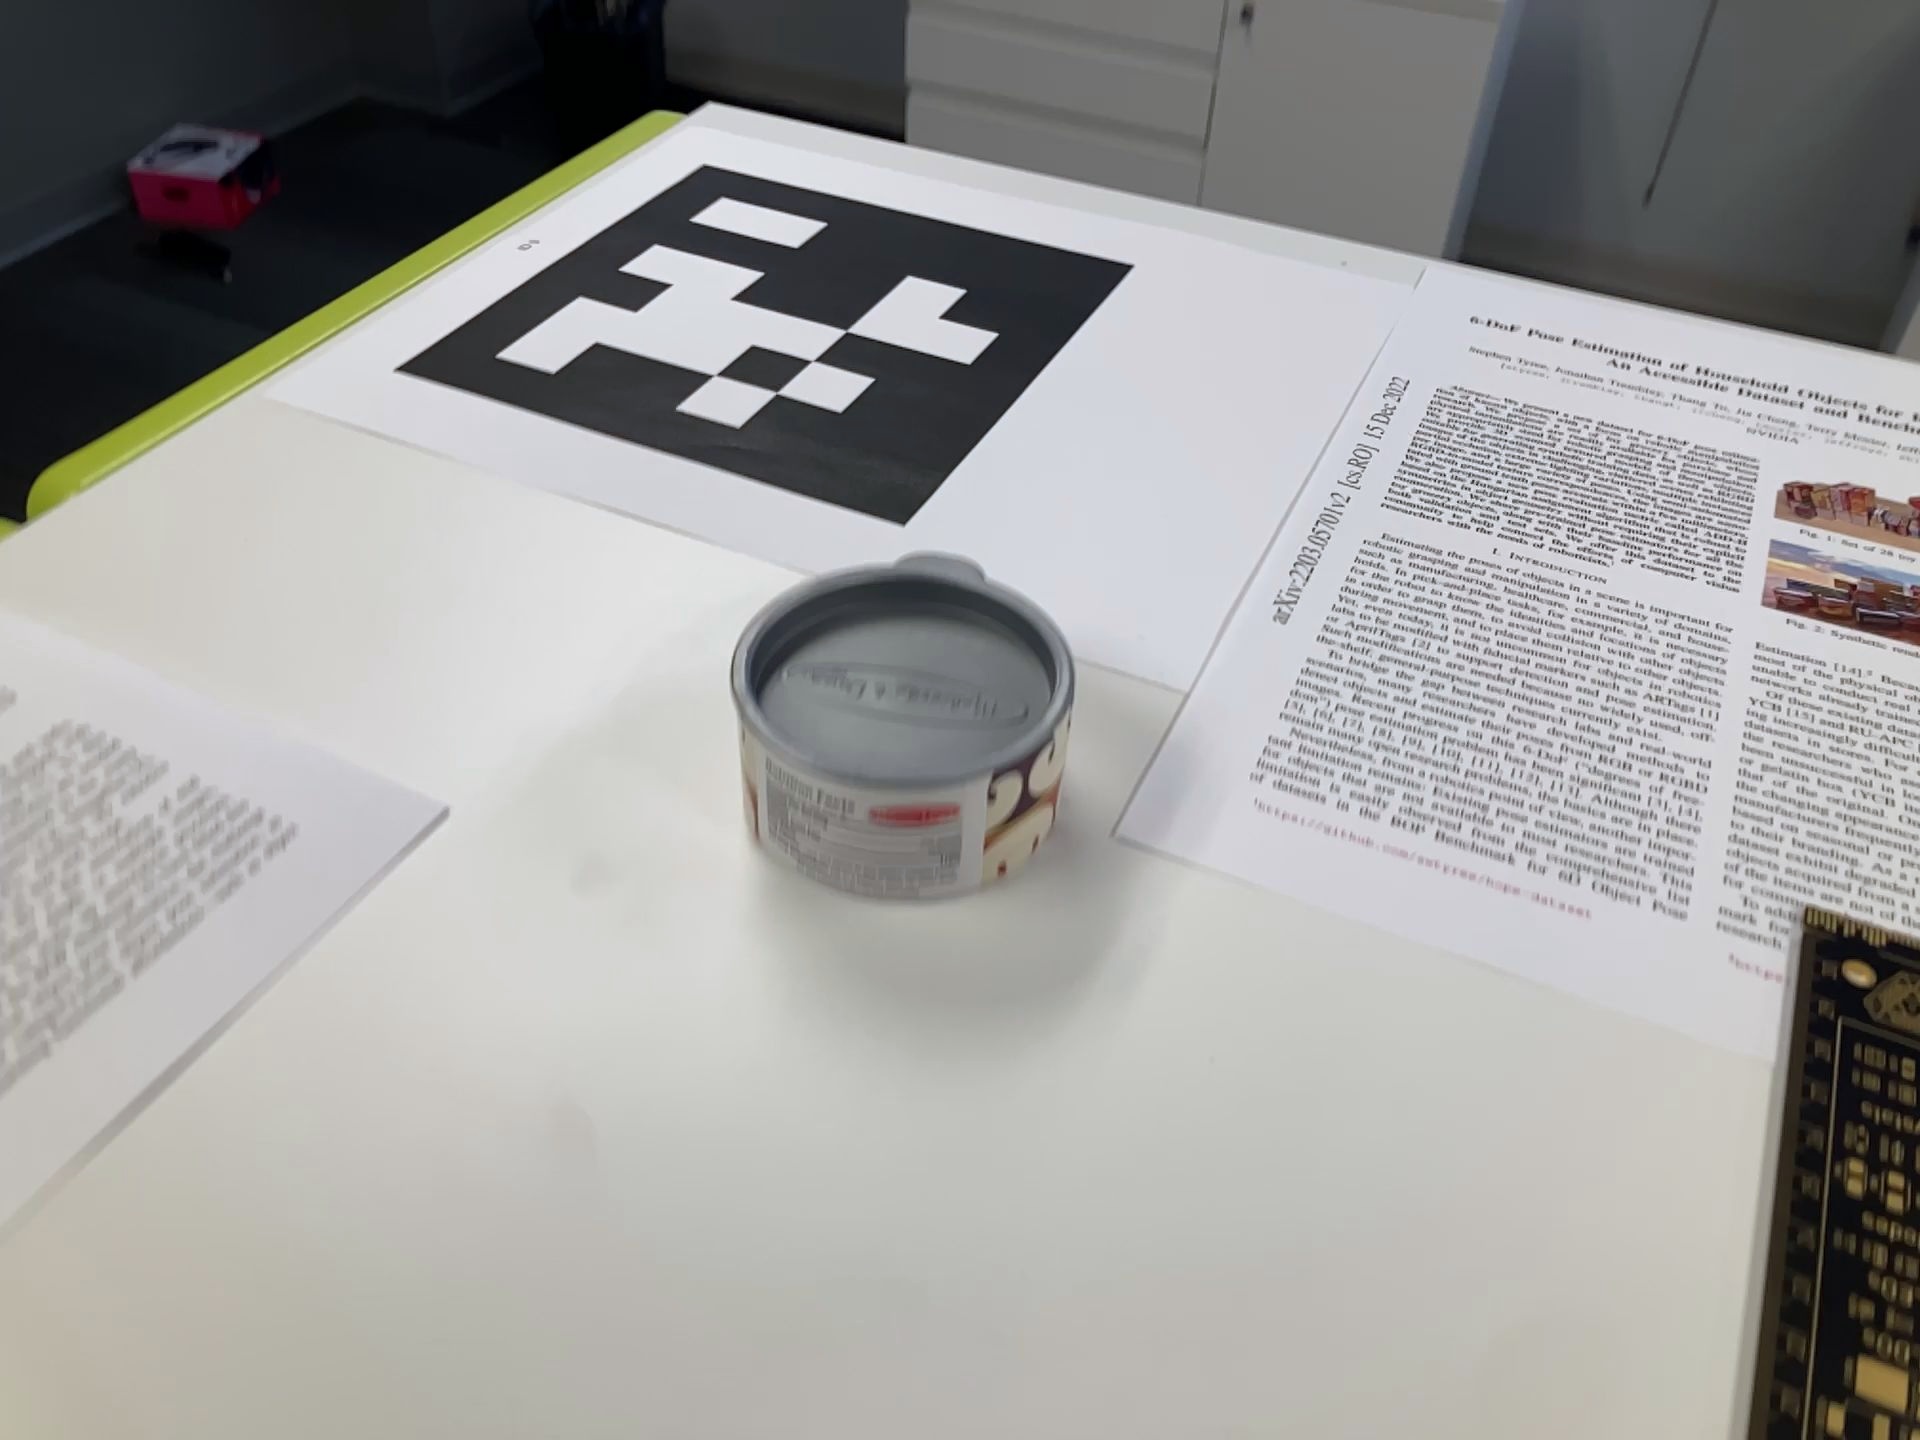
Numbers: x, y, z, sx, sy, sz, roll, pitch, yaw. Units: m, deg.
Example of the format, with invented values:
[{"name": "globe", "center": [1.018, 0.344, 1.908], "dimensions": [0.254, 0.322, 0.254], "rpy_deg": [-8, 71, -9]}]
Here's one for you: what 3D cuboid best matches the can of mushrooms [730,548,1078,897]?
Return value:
[{"name": "can of mushrooms", "center": [-0.010, -0.001, 0.313], "dimensions": [0.071, 0.033, 0.071], "rpy_deg": [1, 42, -1]}]
